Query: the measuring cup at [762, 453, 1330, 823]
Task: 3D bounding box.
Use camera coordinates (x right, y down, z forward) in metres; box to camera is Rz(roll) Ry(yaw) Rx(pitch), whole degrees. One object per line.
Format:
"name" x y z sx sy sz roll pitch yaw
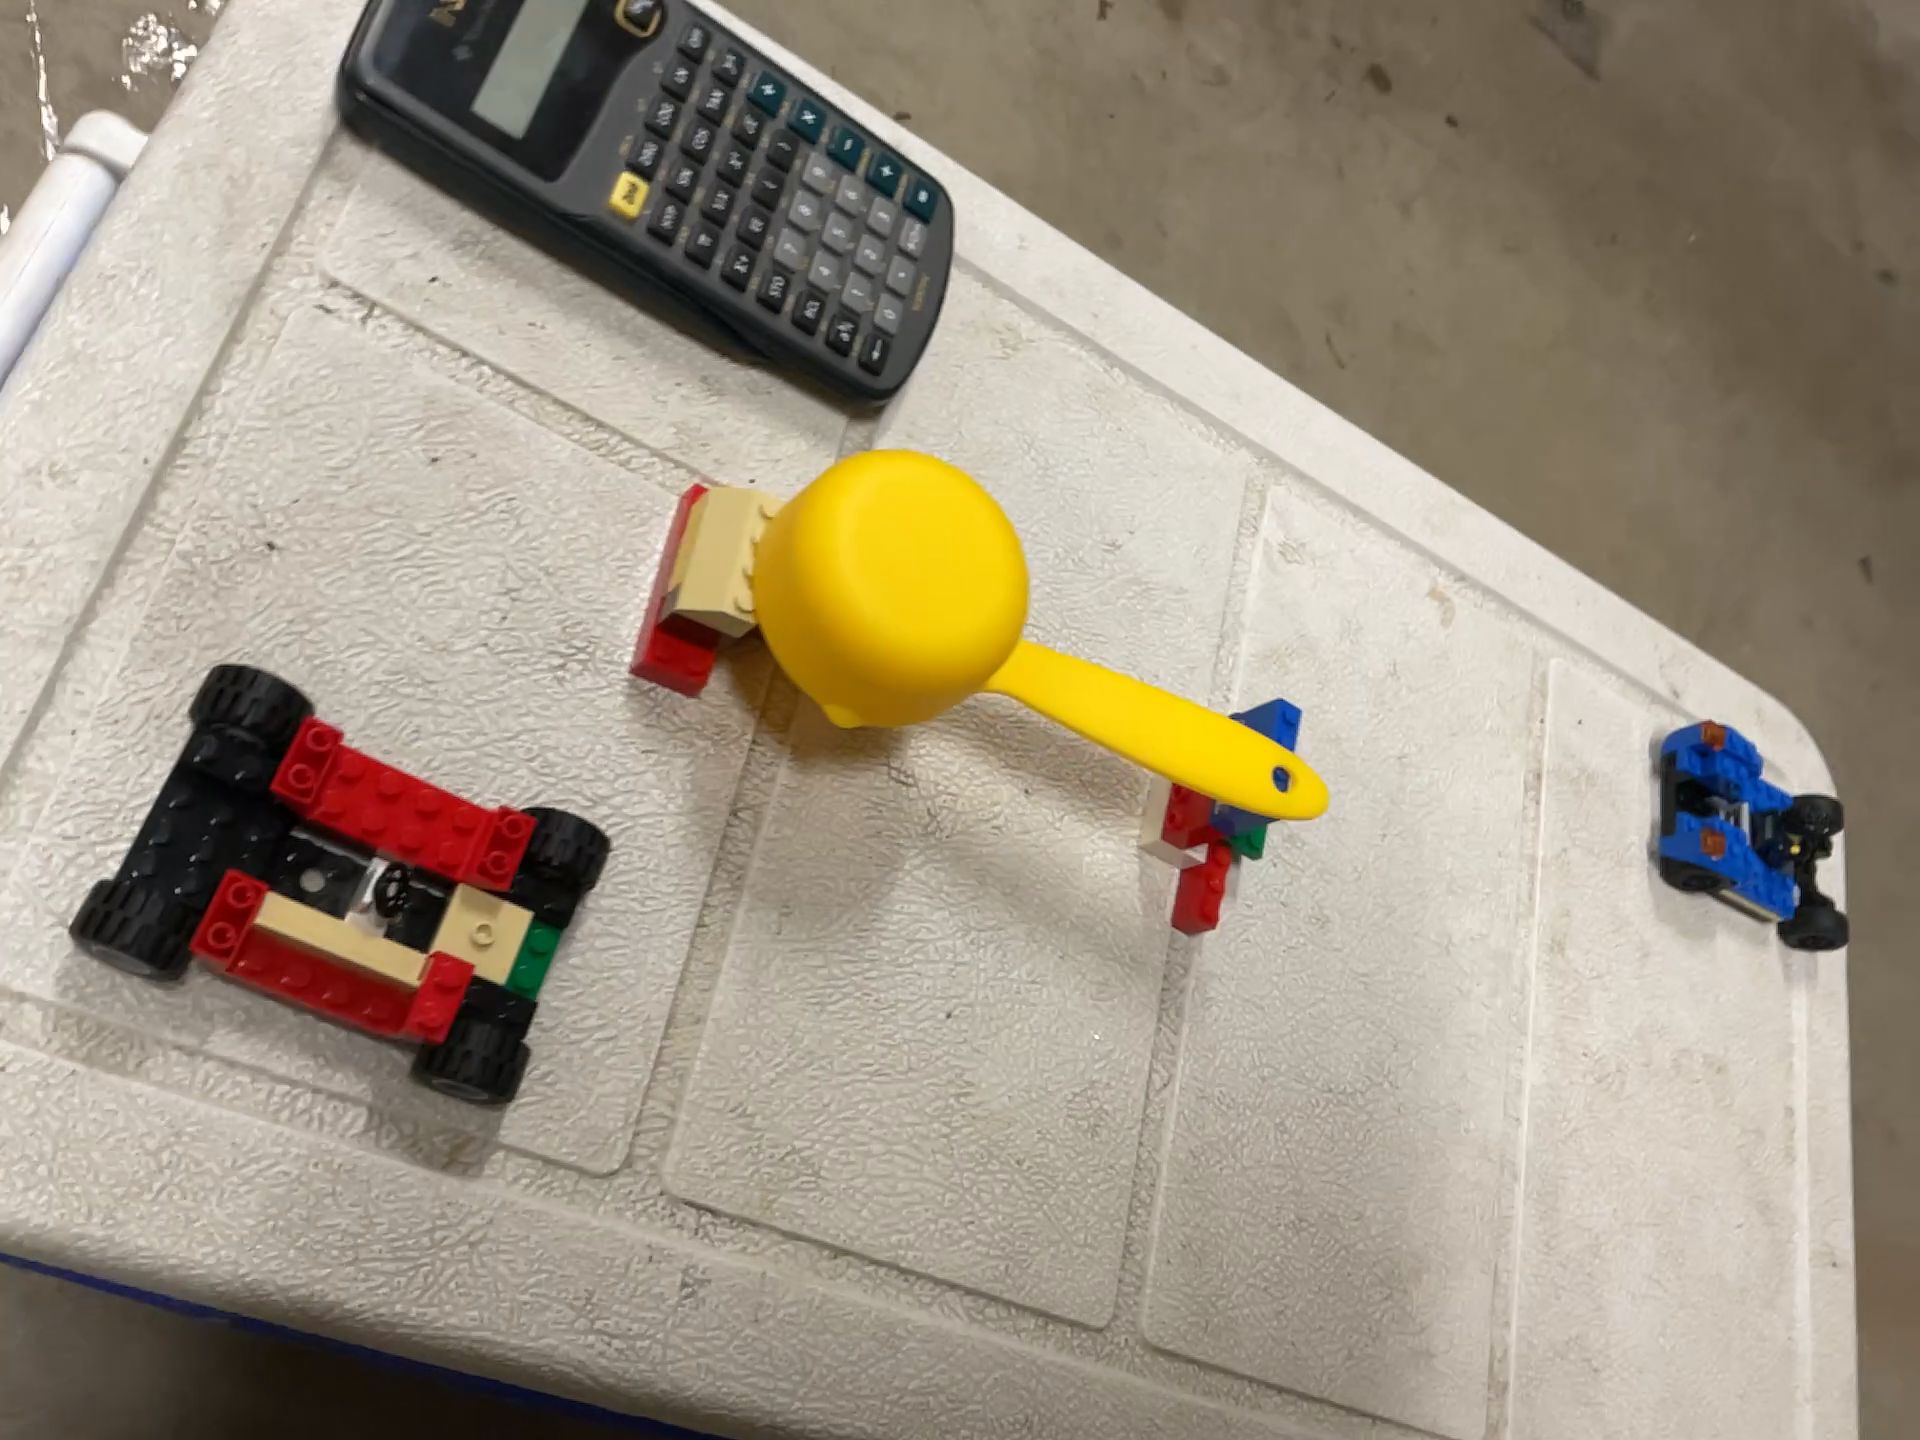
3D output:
"measuring cup" 0.030 -0.012 0.370 0.156 0.029 0.062 24 62 -19
